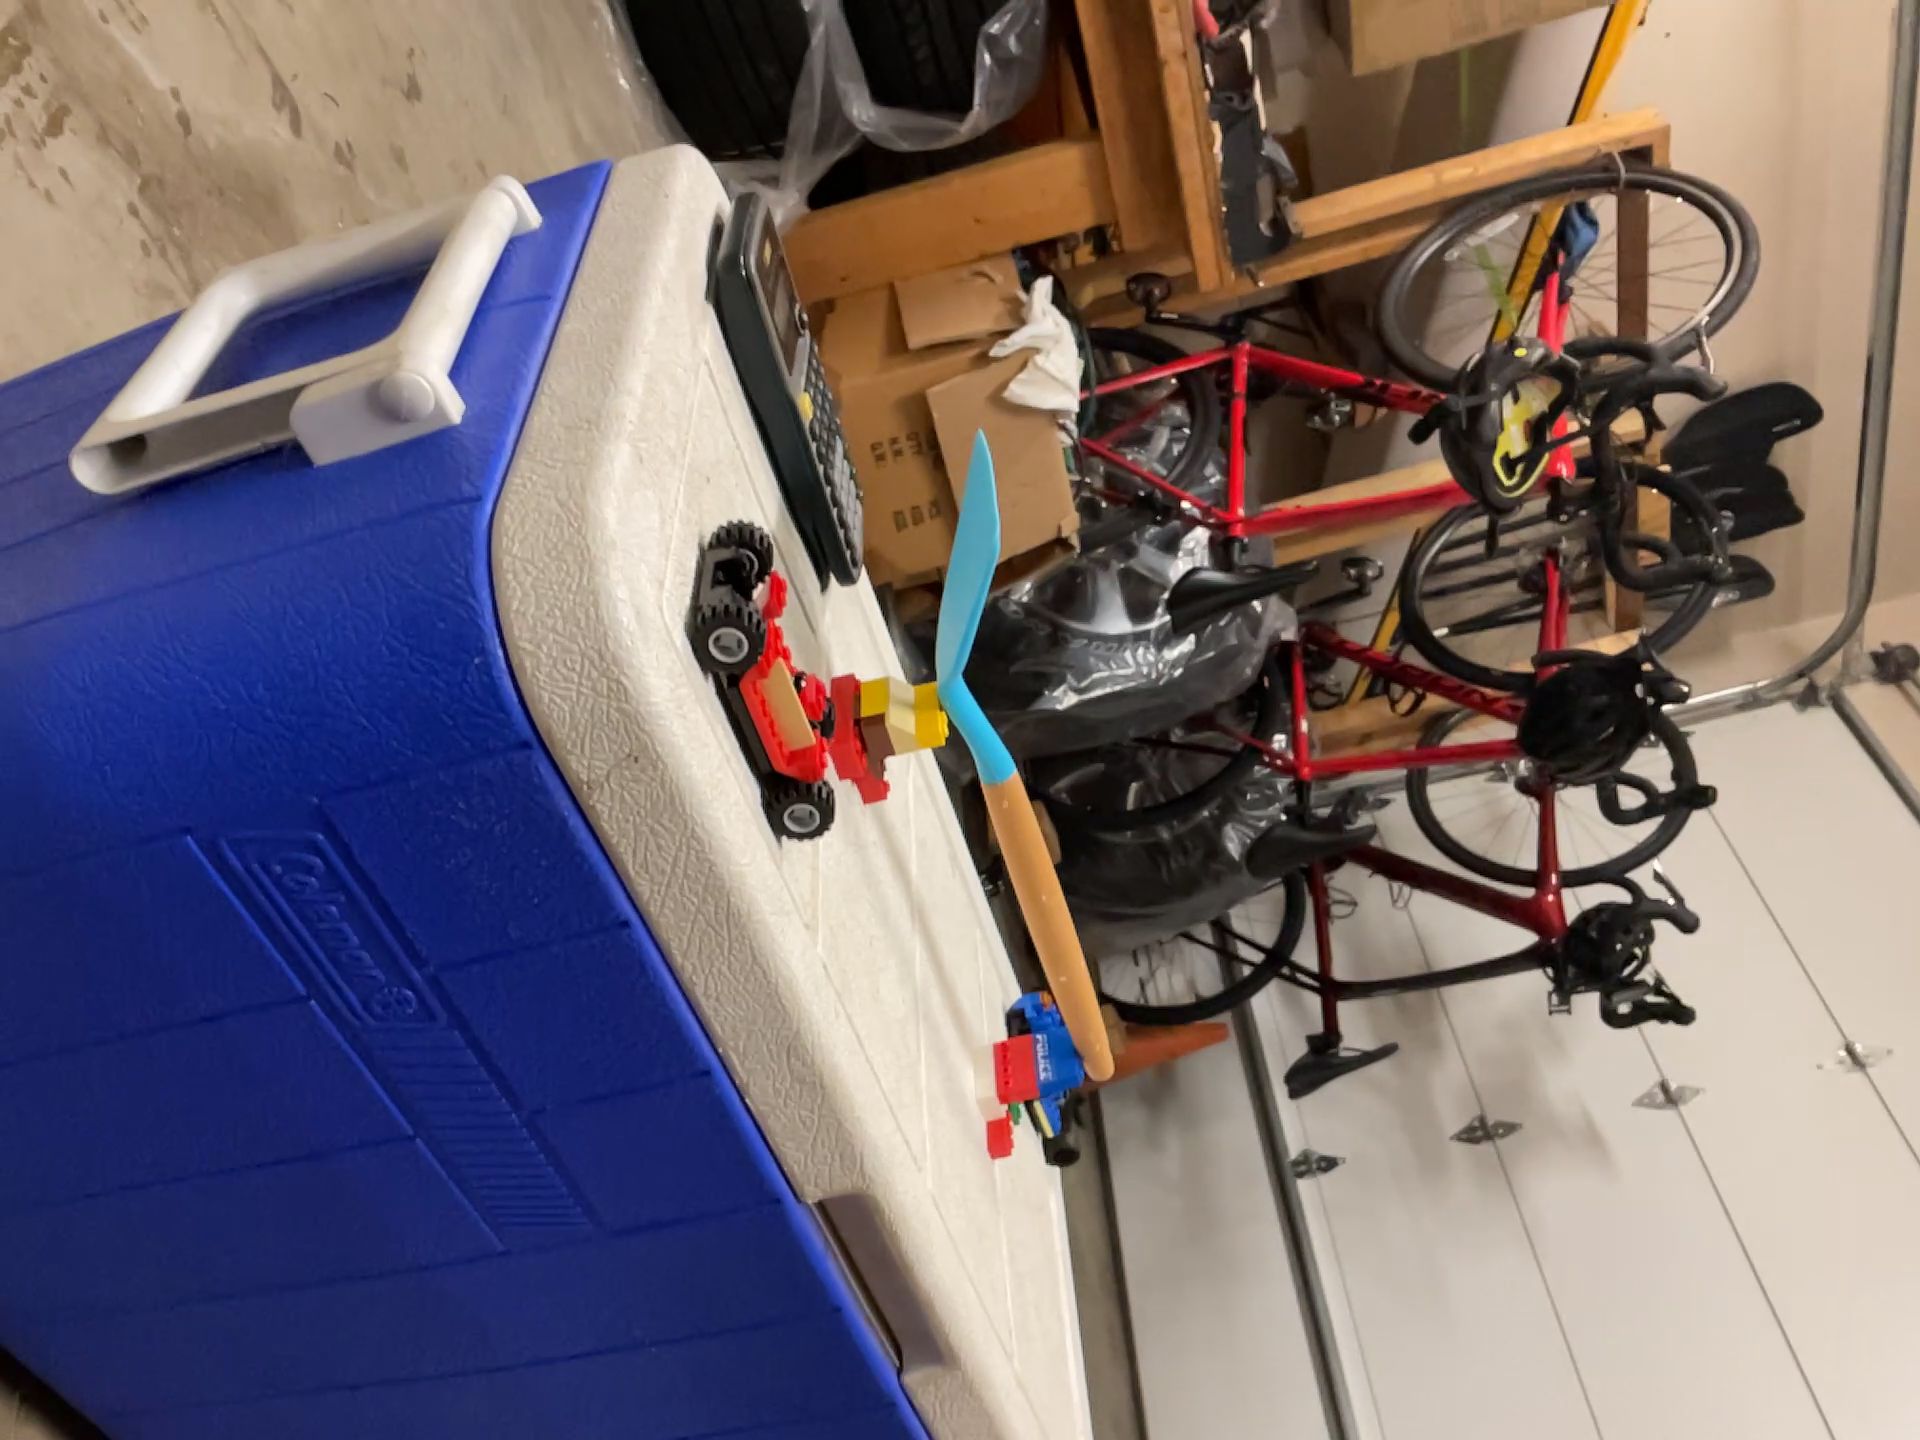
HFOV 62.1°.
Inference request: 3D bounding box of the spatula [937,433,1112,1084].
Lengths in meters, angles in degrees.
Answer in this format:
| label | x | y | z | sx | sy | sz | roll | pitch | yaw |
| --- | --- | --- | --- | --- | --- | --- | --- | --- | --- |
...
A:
| label | x | y | z | sx | sy | sz | roll | pitch | yaw |
| --- | --- | --- | --- | --- | --- | --- | --- | --- | --- |
| spatula | 0.032 | 0.040 | 0.654 | 0.083 | 0.044 | 0.317 | -99 | 171 | -55 |
